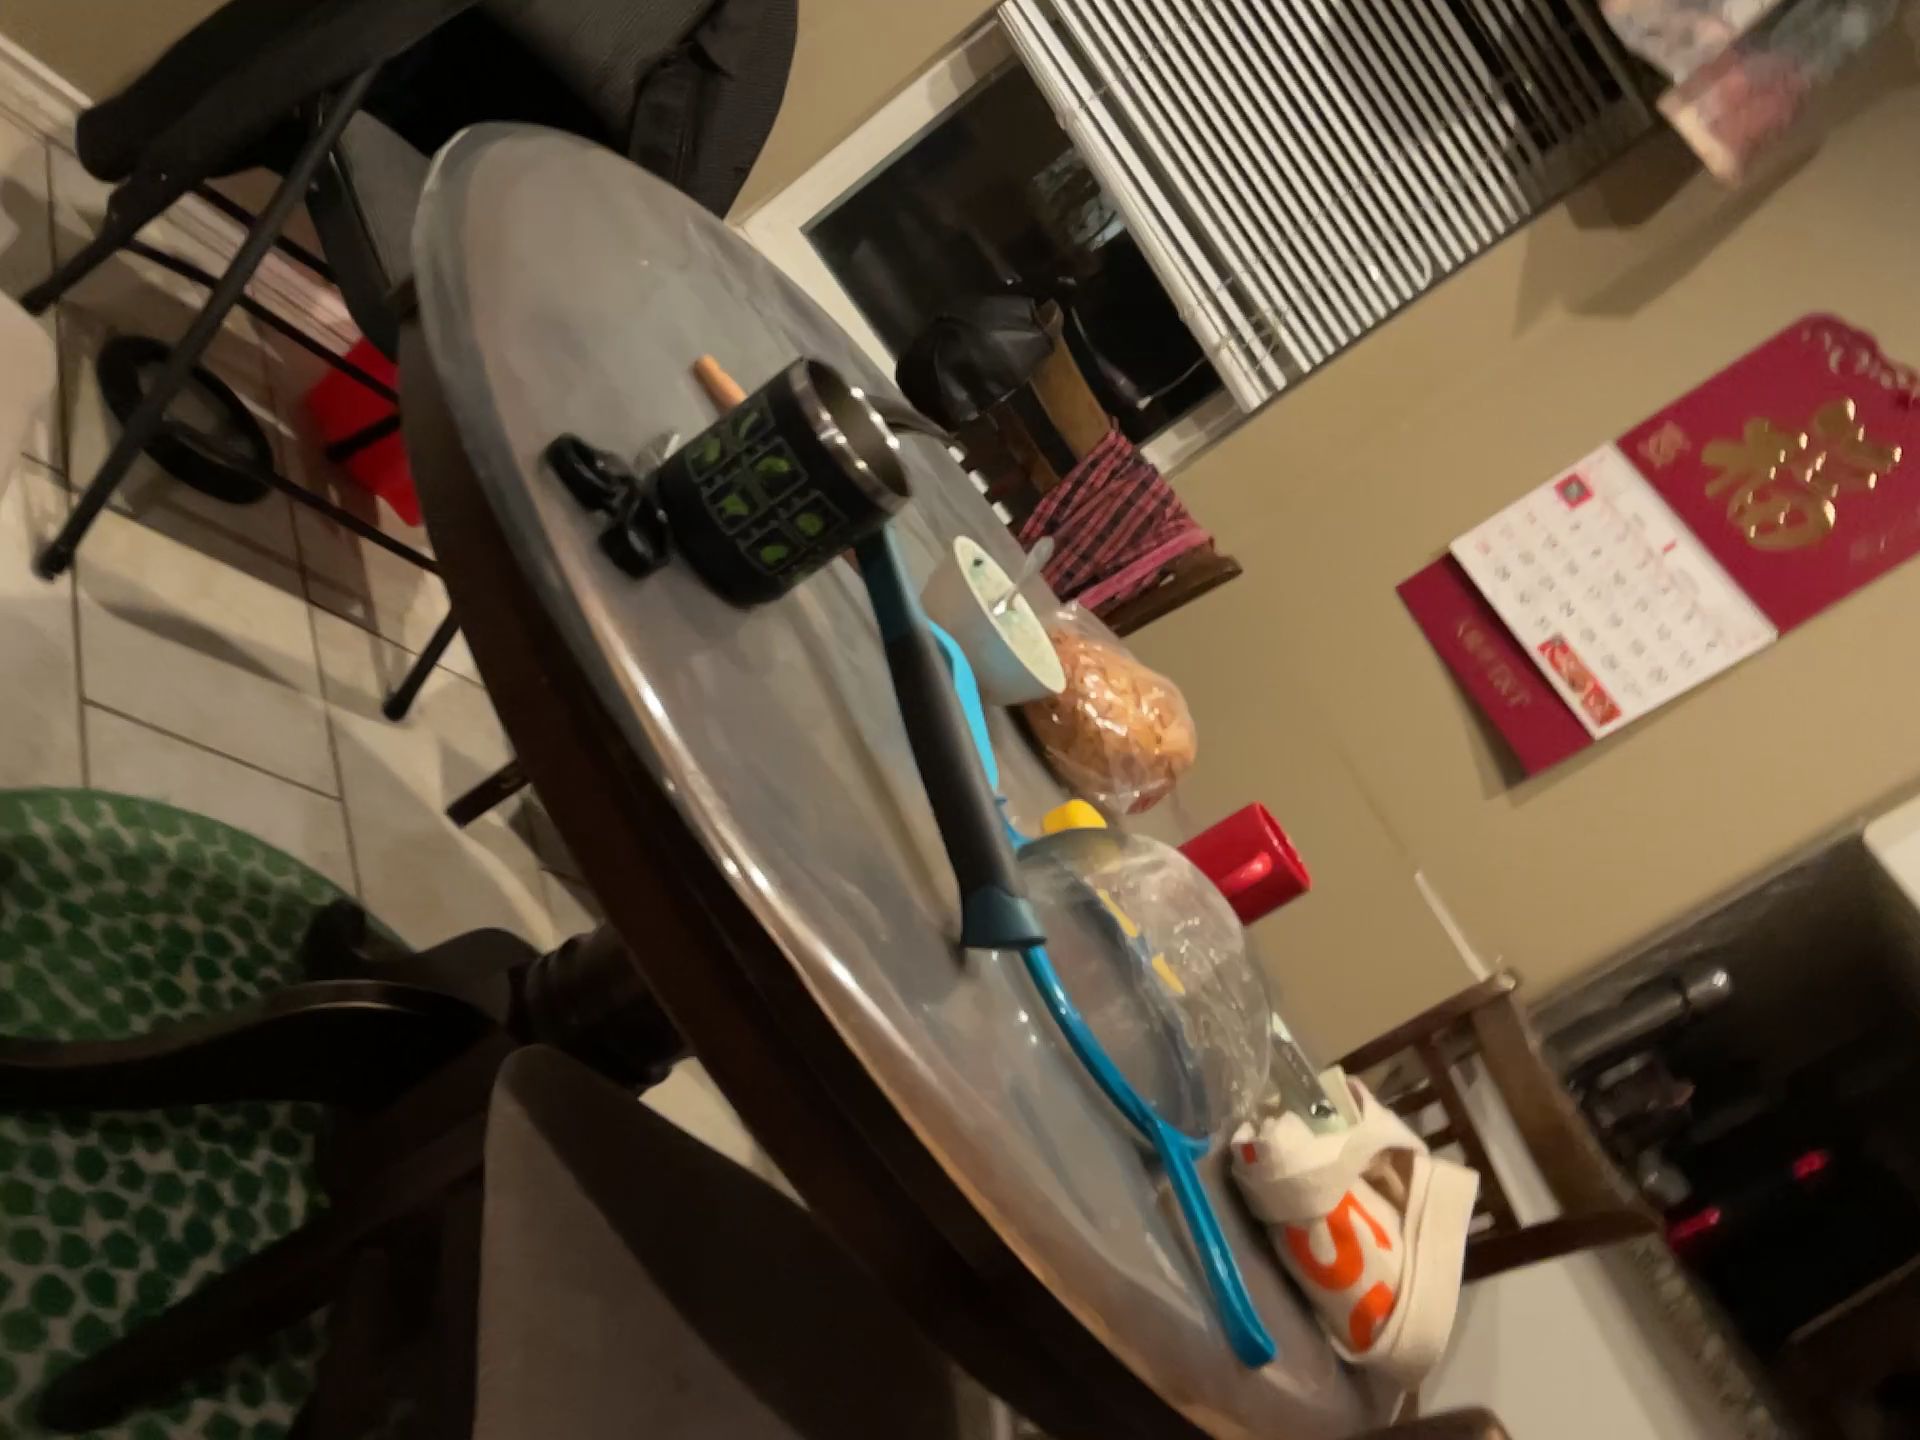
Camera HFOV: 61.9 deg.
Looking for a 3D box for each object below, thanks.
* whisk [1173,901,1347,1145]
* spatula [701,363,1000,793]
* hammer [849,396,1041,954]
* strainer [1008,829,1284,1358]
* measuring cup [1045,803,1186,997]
[{"bbox_3d":[0.202,0.202,1.081,0.246,0.058,0.059,-116,-164,-61],"label":"whisk"},{"bbox_3d":[-0.064,-0.085,0.977,0.317,0.044,0.082,52,15,2],"label":"spatula"},{"bbox_3d":[-0.027,-0.029,0.846,0.033,0.128,0.331,23,44,-59],"label":"hammer"},{"bbox_3d":[0.130,0.175,0.878,0.211,0.095,0.341,43,15,-37],"label":"strainer"},{"bbox_3d":[0.113,0.120,1.069,0.156,0.029,0.062,52,15,-9],"label":"measuring cup"}]
